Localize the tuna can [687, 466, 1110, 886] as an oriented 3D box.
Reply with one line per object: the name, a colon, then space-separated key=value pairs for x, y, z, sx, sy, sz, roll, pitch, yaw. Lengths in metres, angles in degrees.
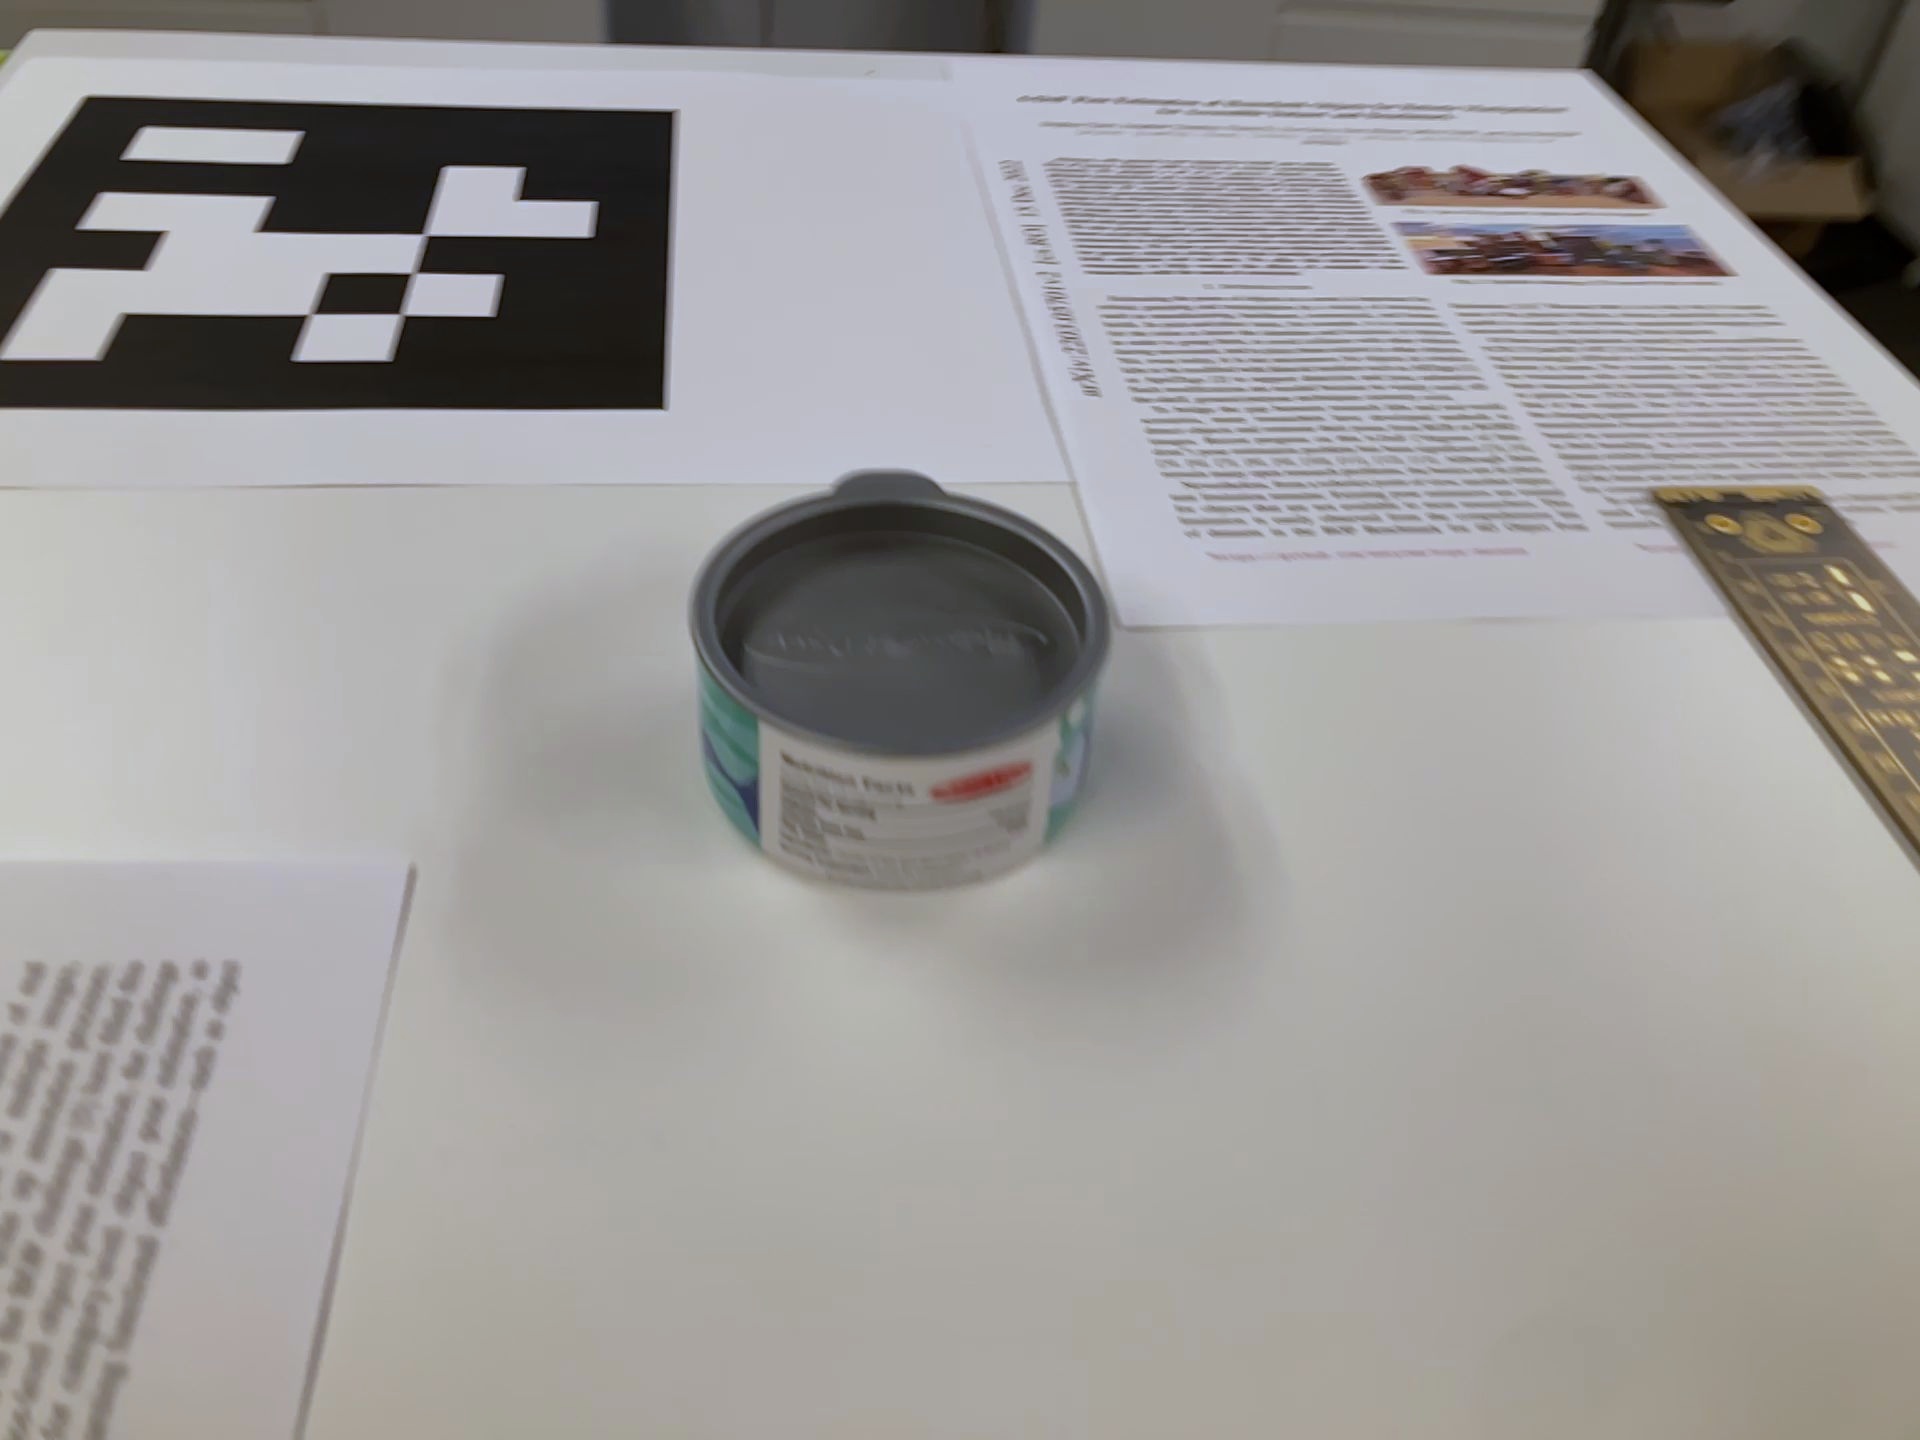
tuna can: x=-0.011 y=-0.009 z=0.260 sx=0.071 sy=0.033 sz=0.071 roll=3 pitch=42 yaw=-2
